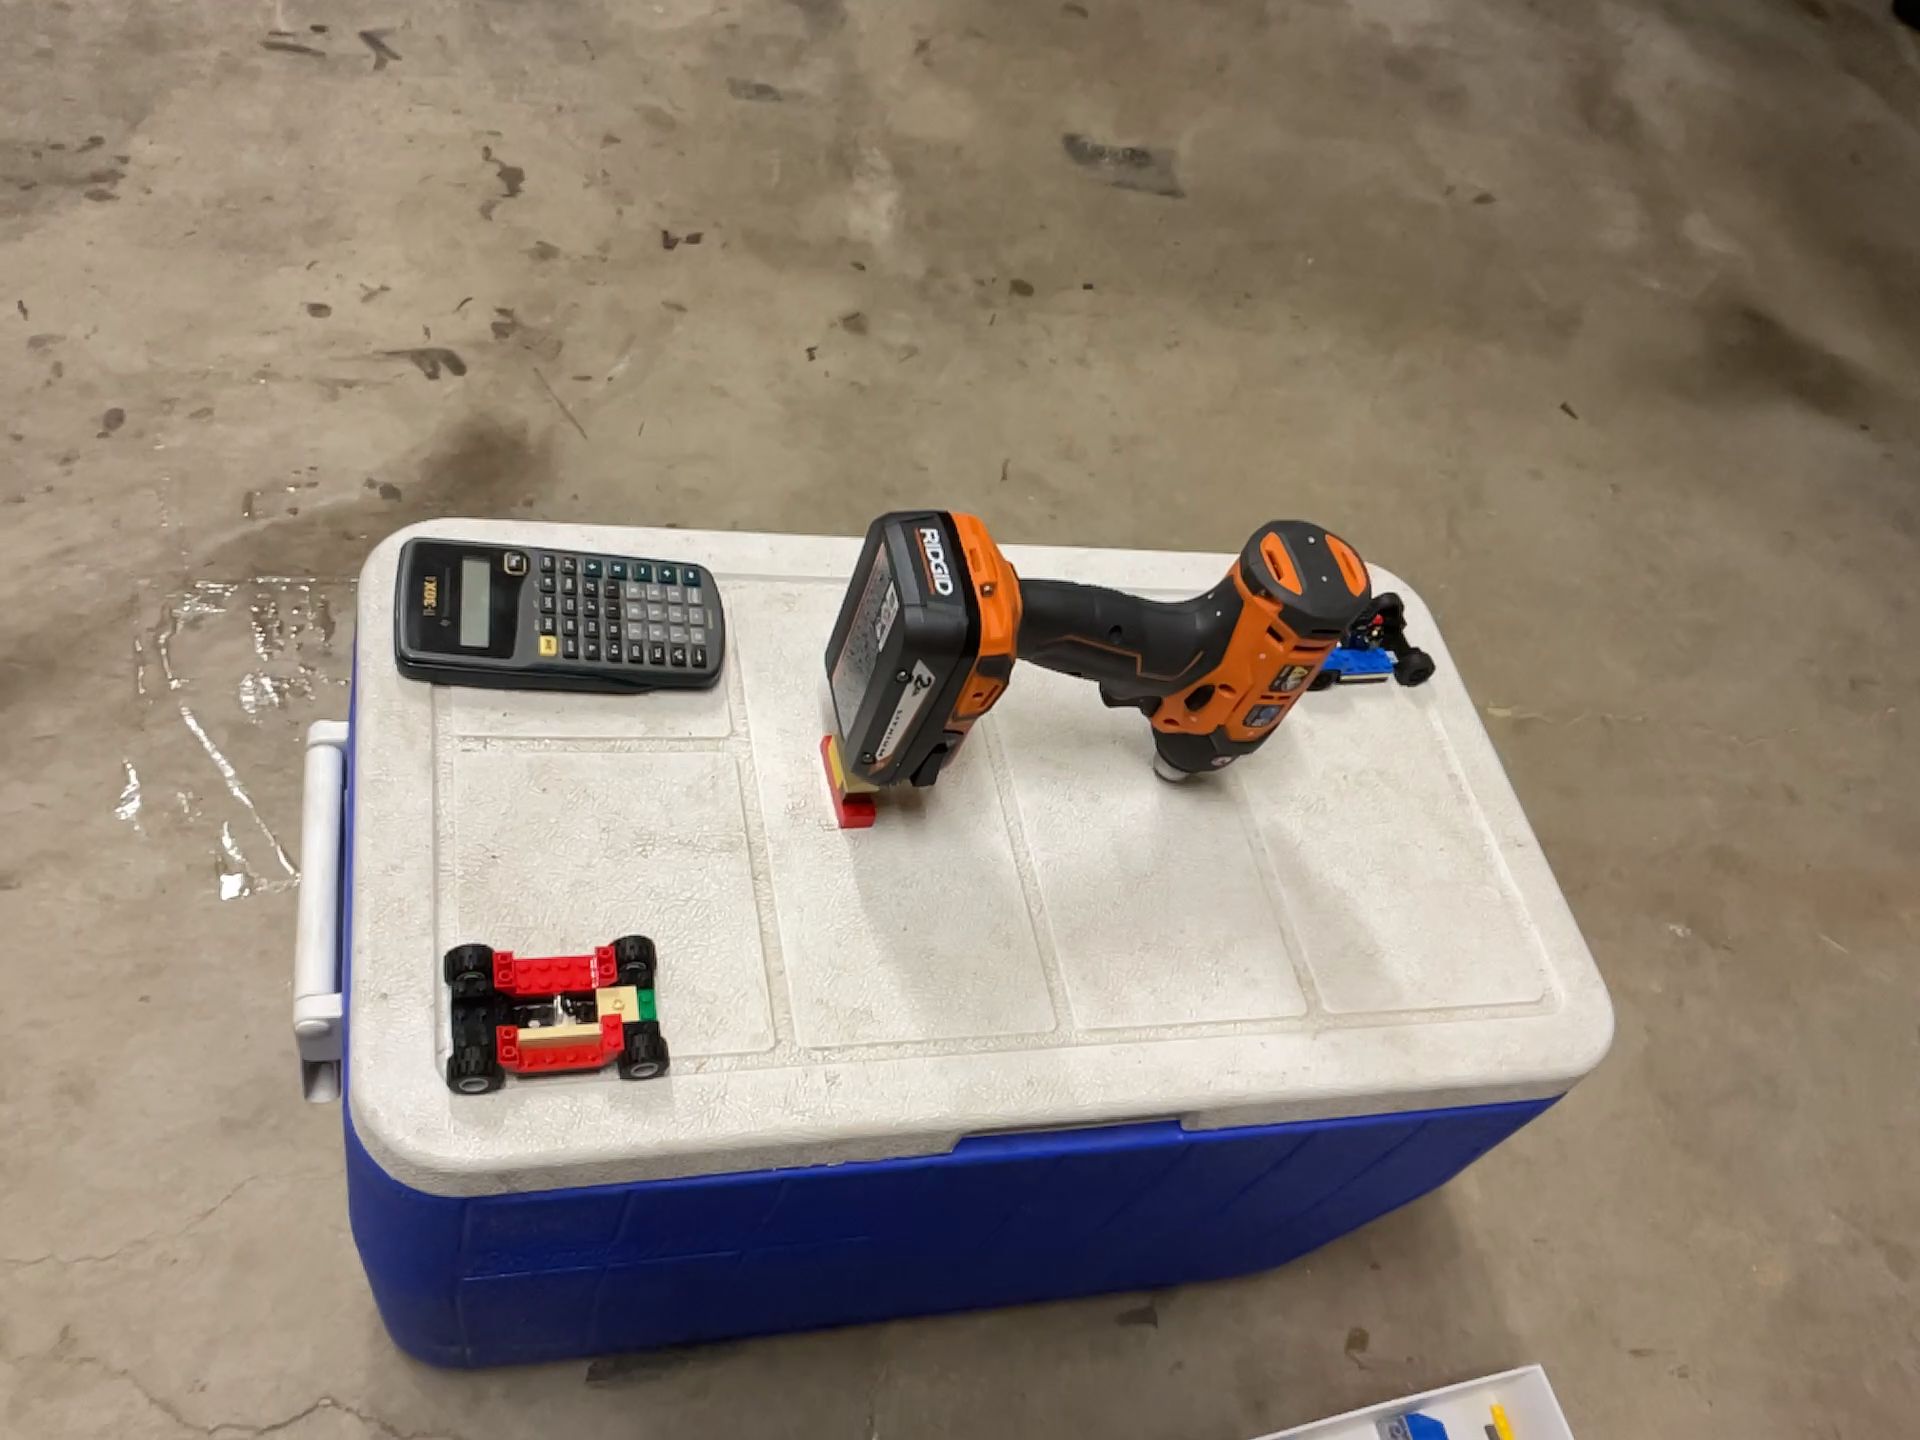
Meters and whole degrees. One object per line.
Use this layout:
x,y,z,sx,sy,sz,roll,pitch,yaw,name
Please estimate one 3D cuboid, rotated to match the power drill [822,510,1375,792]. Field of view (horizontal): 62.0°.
0.057,-0.021,0.736,0.226,0.164,0.084,0,53,-21,power drill
